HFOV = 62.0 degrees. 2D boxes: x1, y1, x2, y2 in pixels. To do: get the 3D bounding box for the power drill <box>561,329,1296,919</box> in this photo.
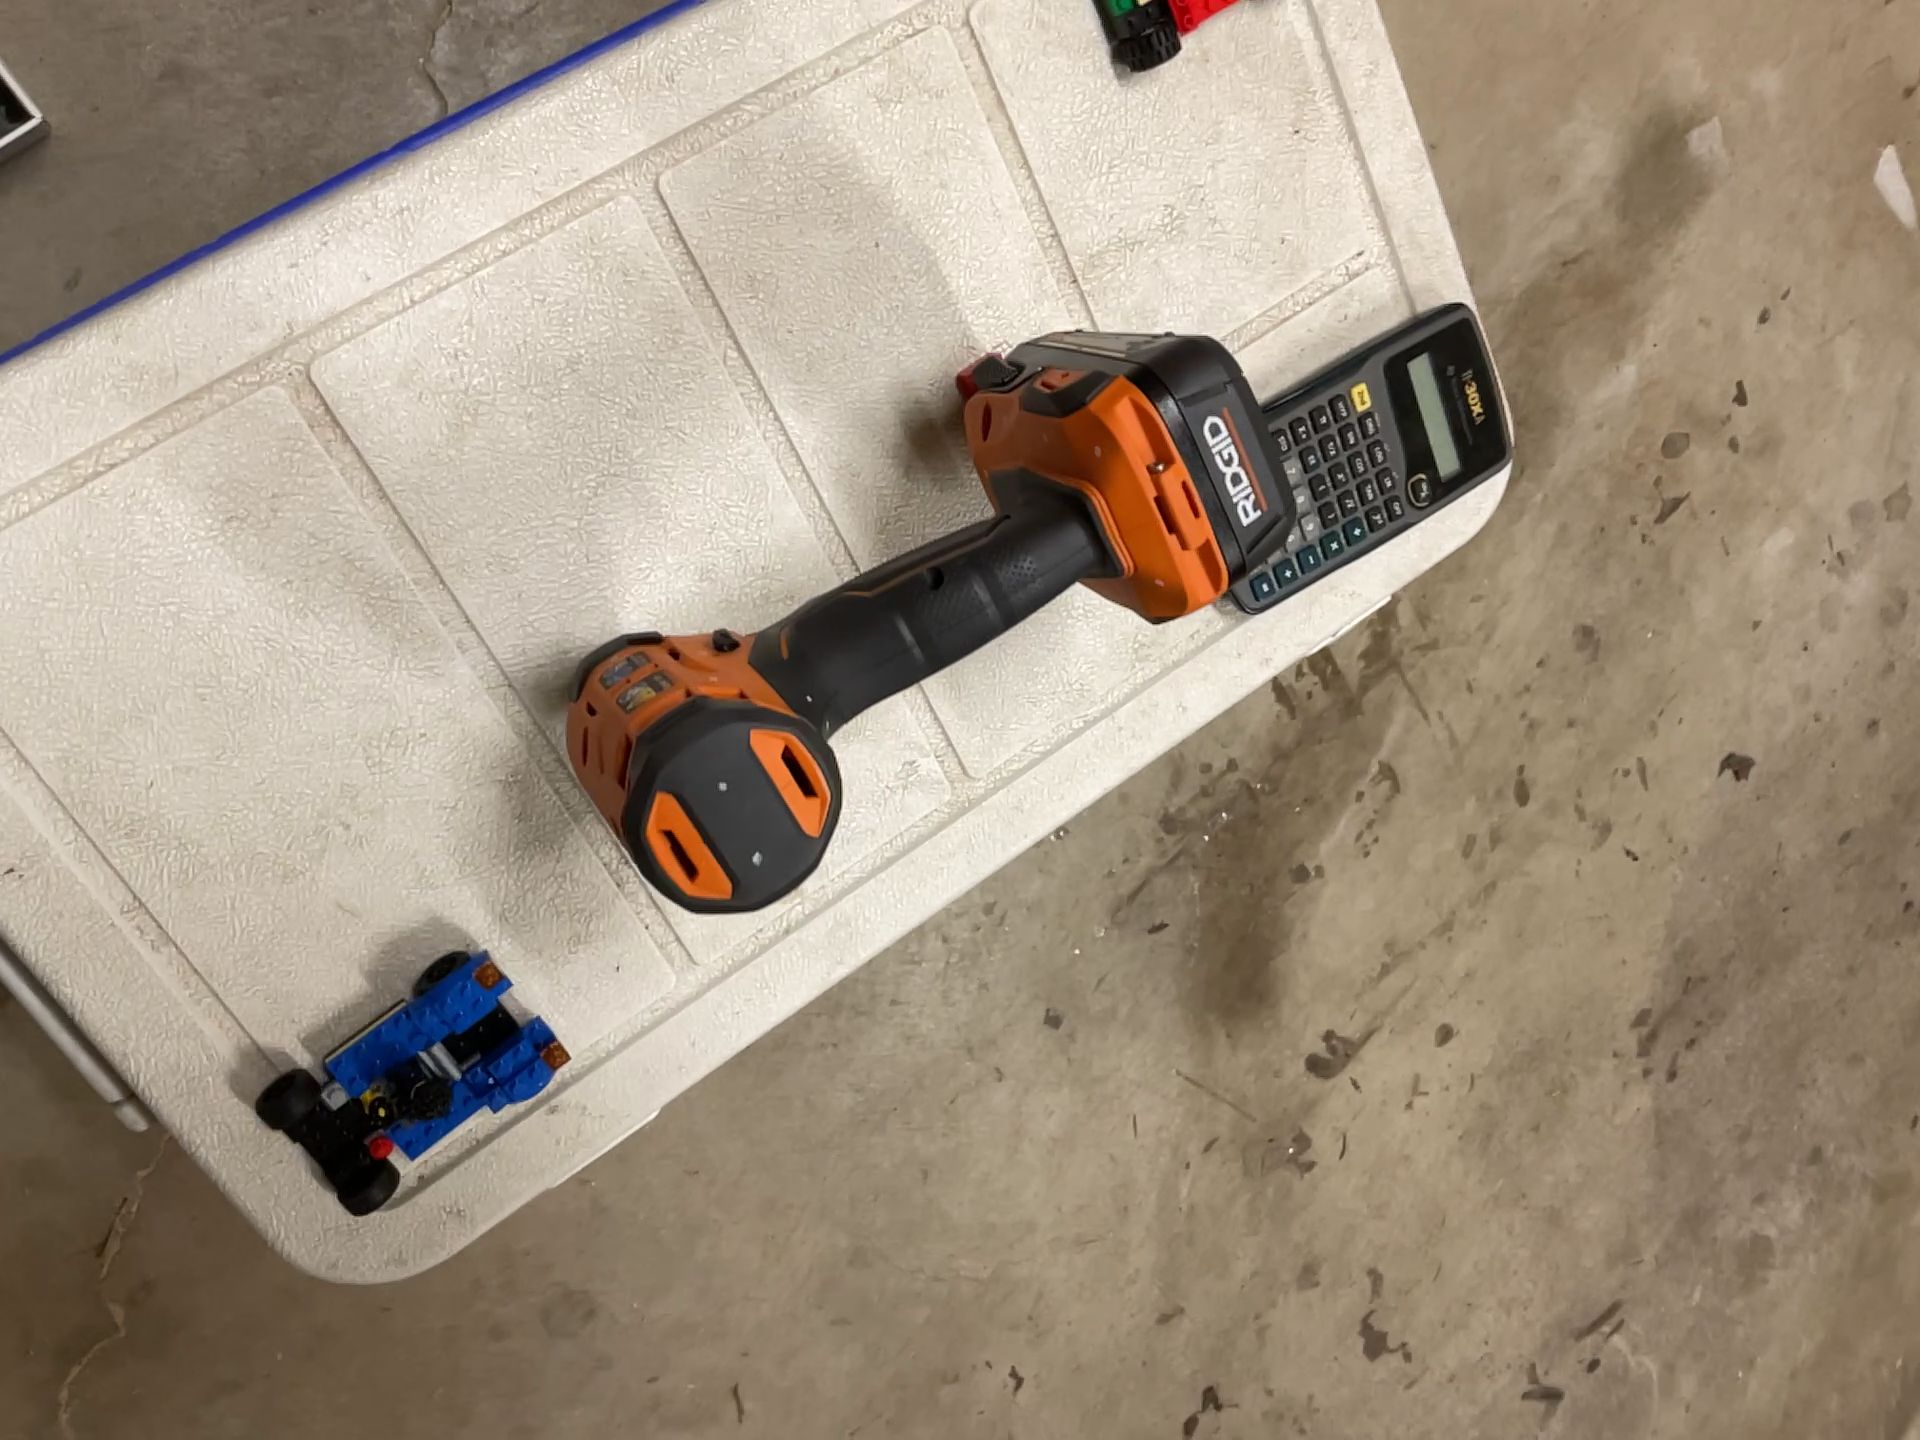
[{"bbox_3d":[-0.026,-0.039,0.516,0.226,0.164,0.084,-35,115,-13],"label":"power drill"}]
